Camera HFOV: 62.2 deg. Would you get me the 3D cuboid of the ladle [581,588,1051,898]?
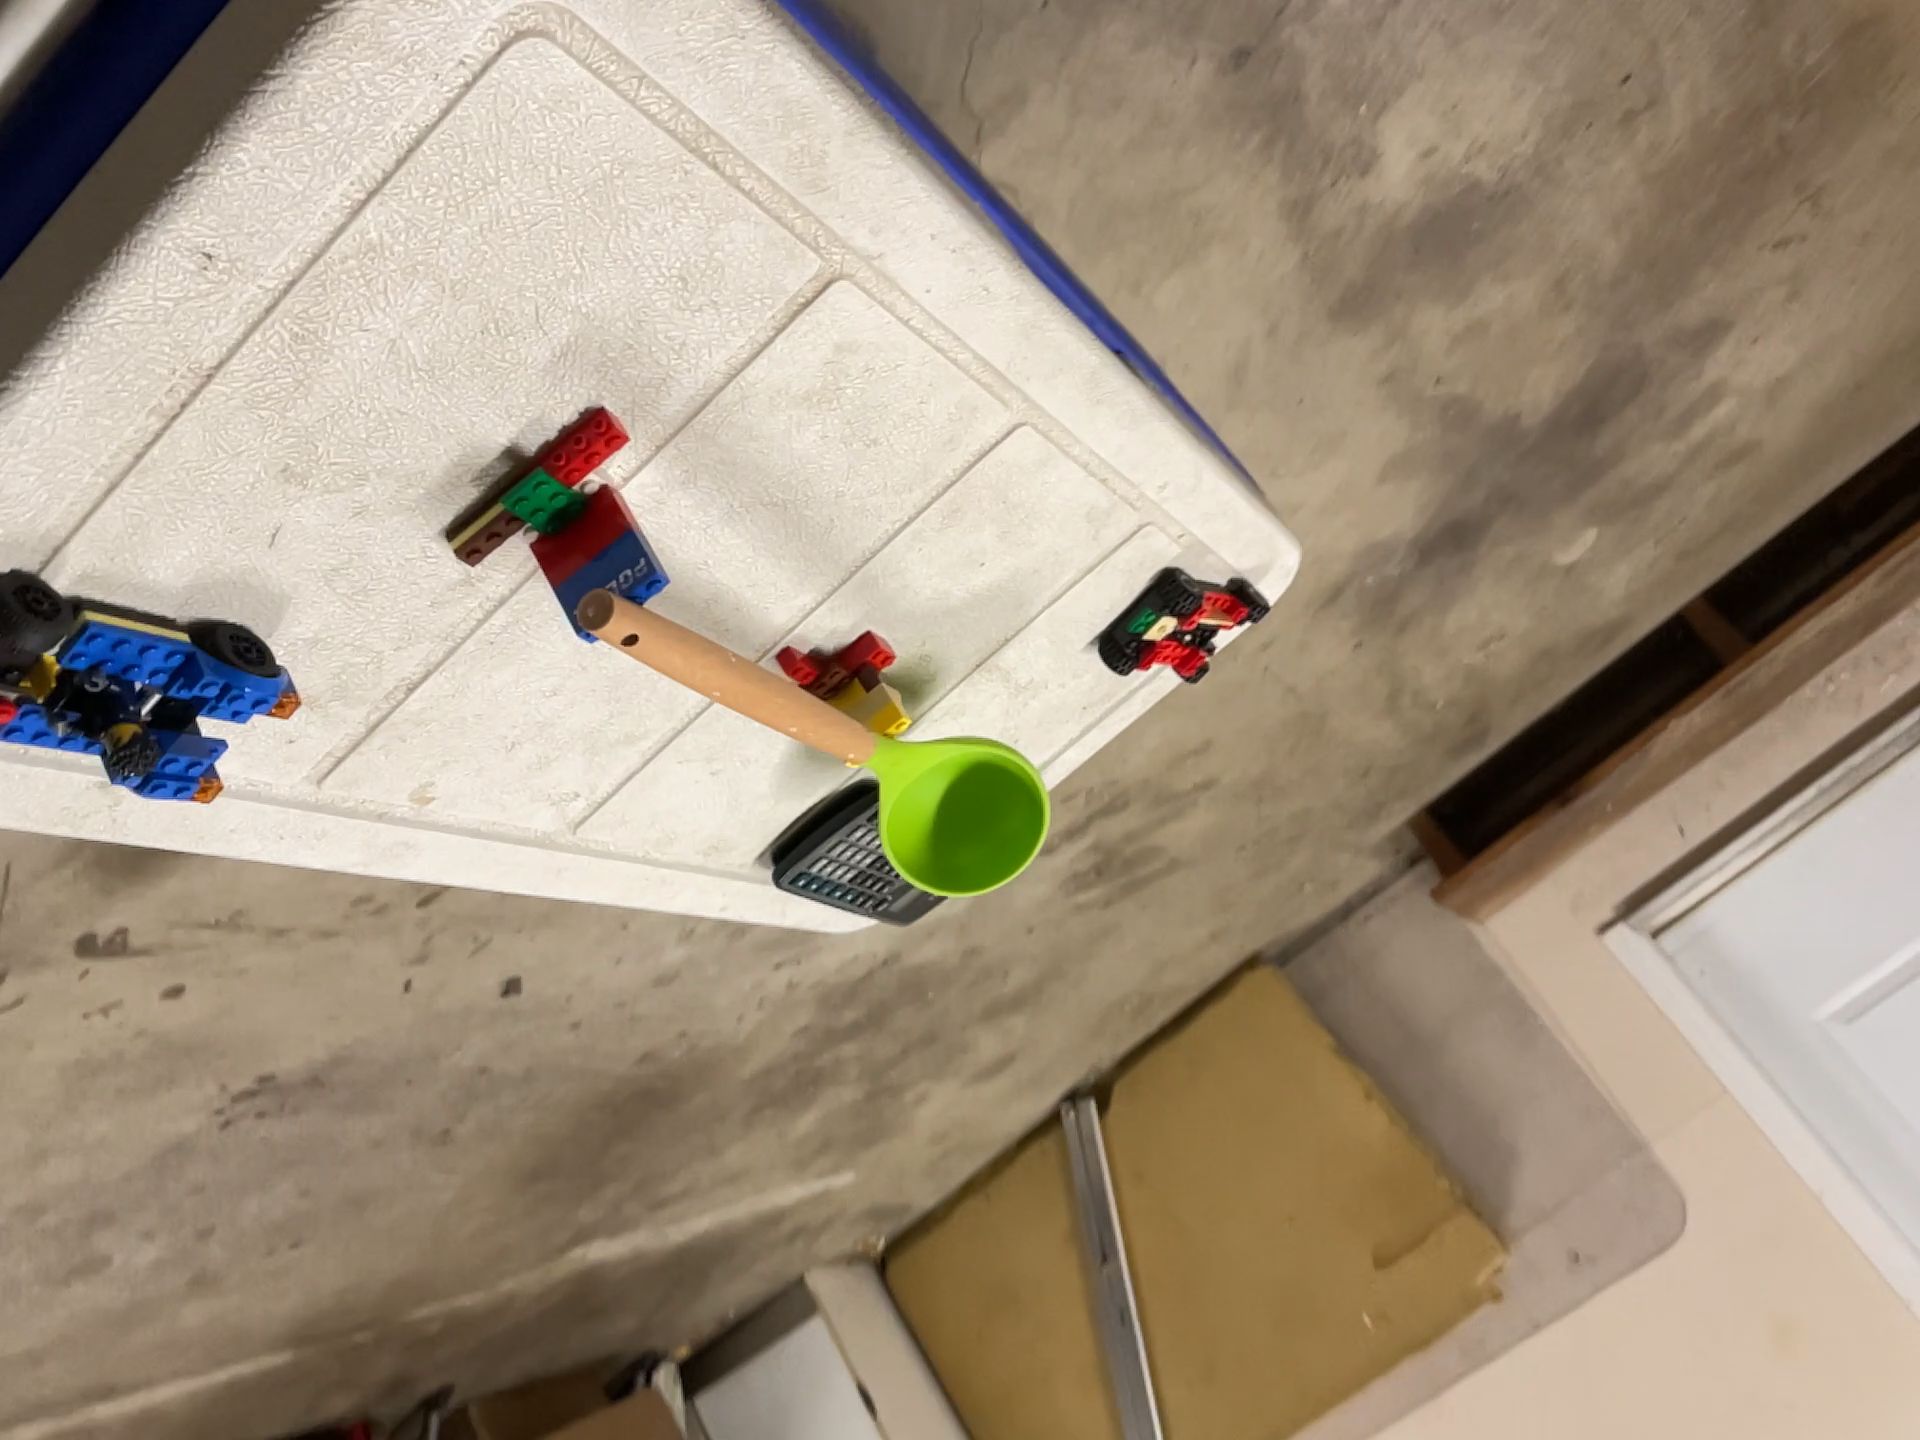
[{"bbox_3d":[-0.043,0.013,0.605,0.078,0.062,0.320,-37,156,9],"label":"ladle"}]
